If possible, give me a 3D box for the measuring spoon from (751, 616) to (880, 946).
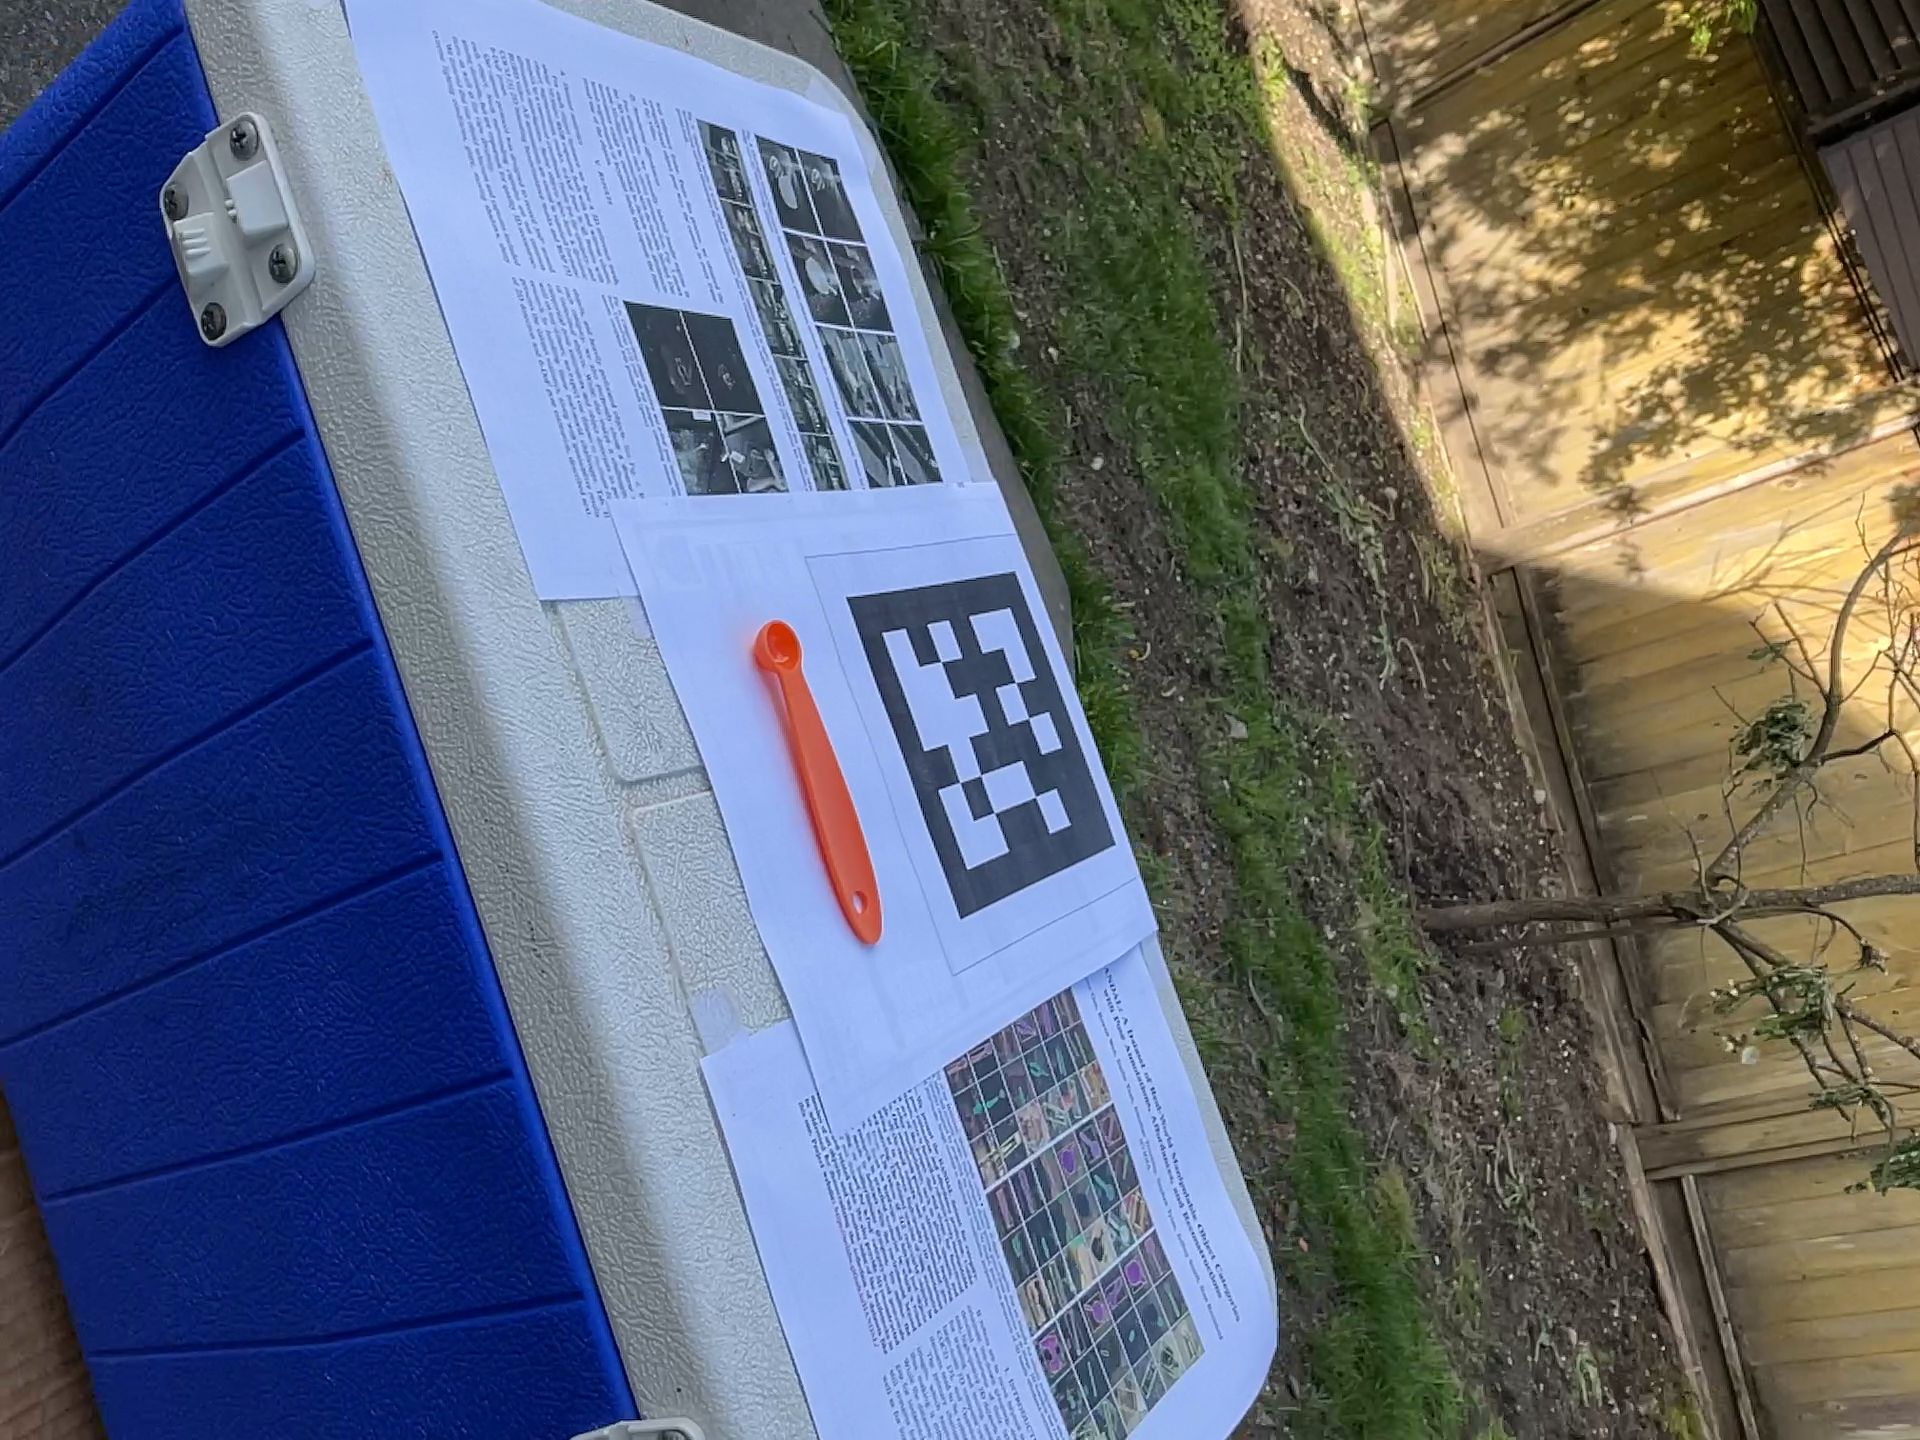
[{"bbox_3d":[-0.050,0.021,0.547,0.021,0.011,0.117,-18,91,-59],"label":"measuring spoon"}]
